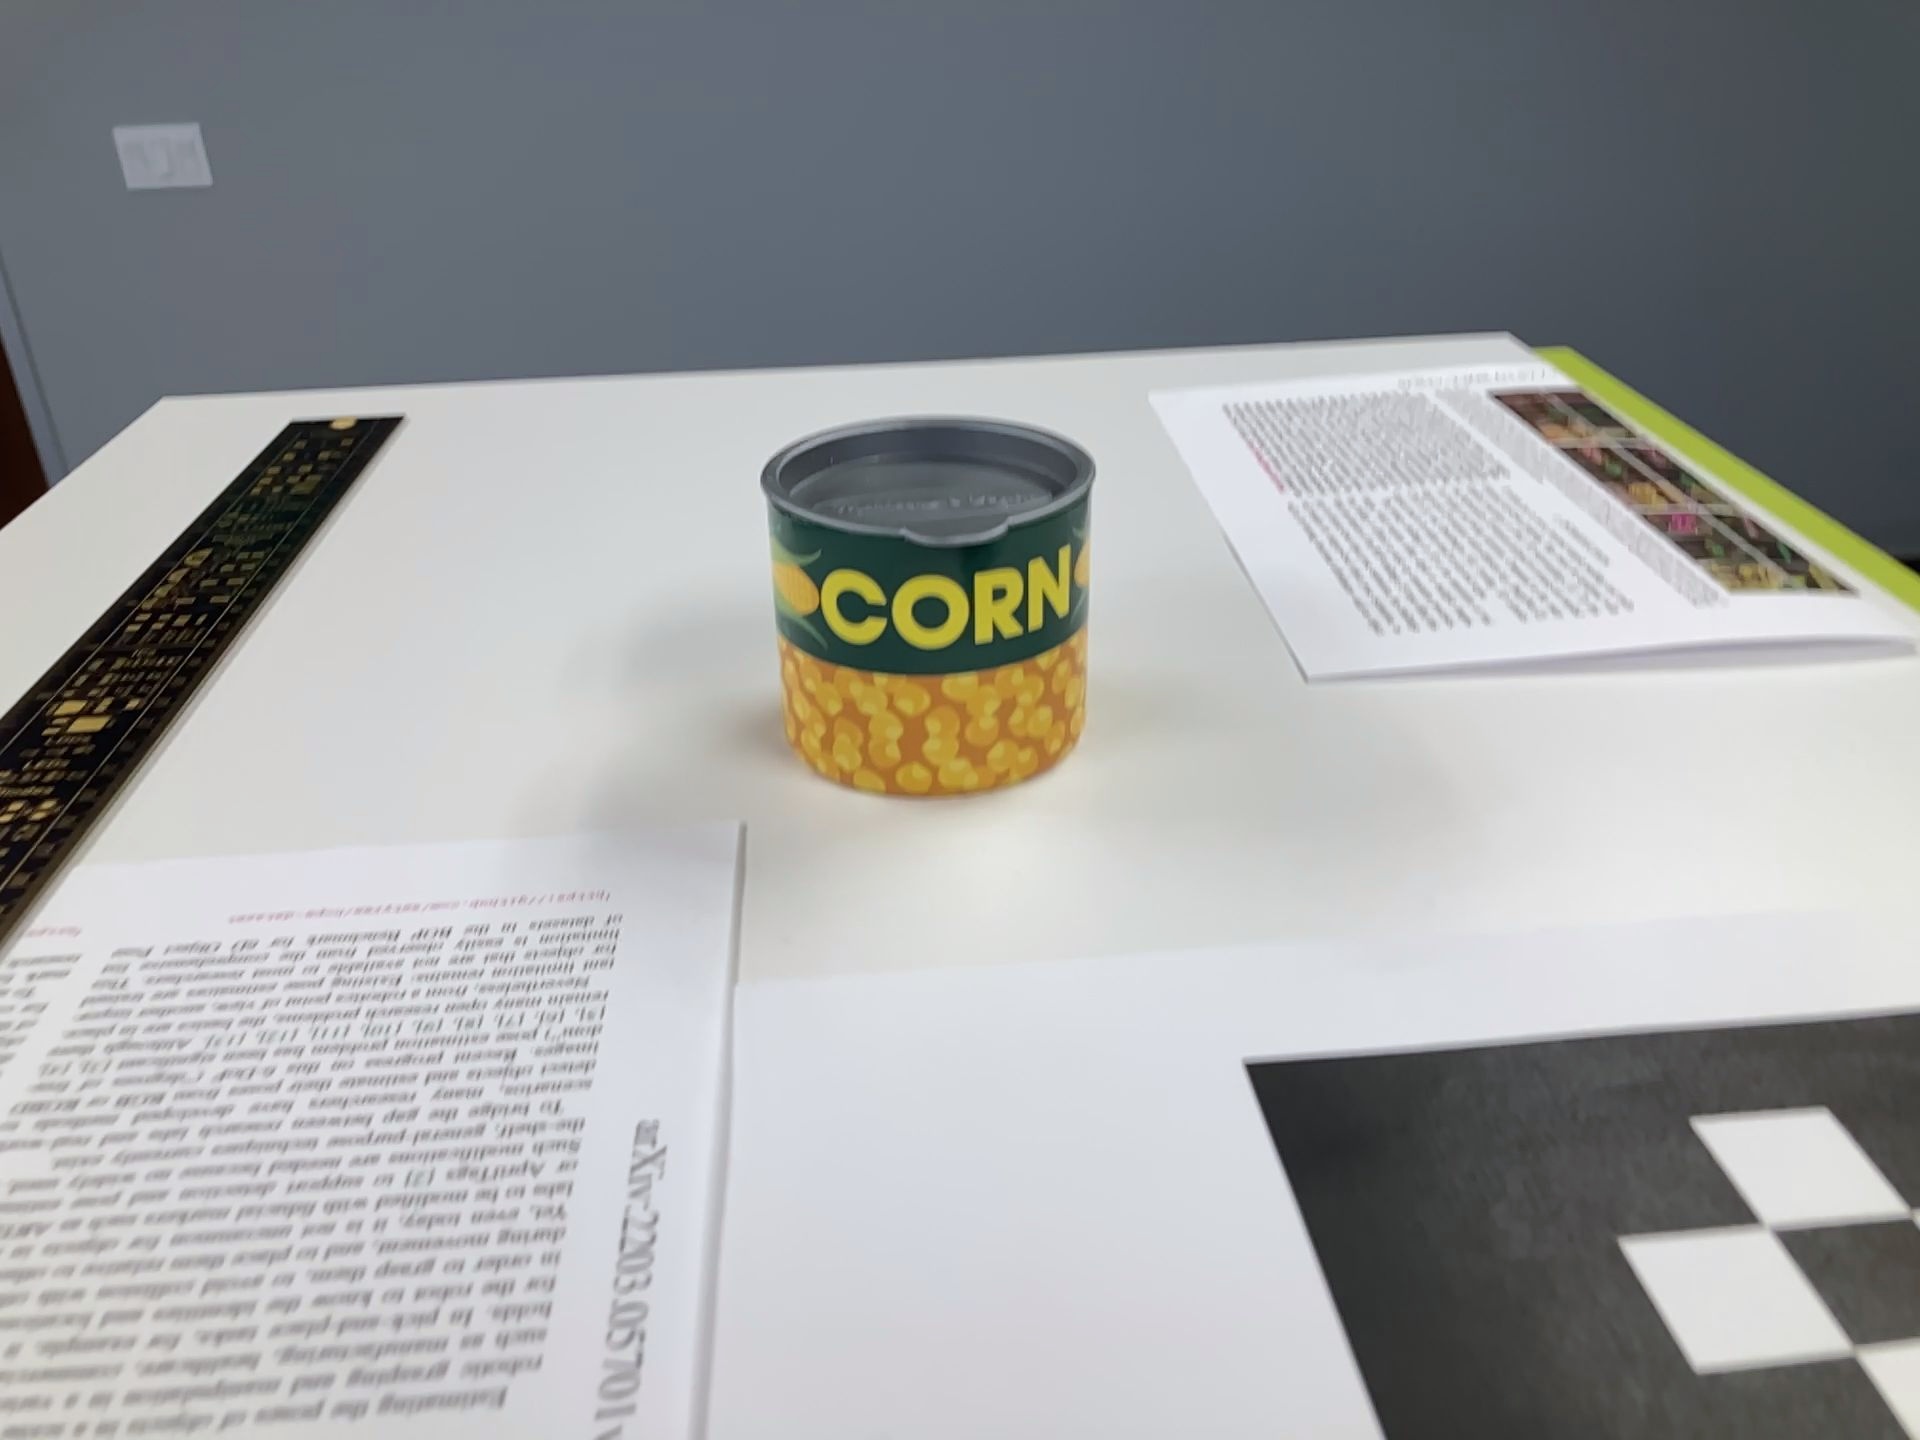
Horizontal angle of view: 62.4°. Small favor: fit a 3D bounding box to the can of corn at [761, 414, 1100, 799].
[{"bbox_3d":[-0.005,-0.024,0.323,0.071,0.058,0.071,-1,28,0],"label":"can of corn"}]
